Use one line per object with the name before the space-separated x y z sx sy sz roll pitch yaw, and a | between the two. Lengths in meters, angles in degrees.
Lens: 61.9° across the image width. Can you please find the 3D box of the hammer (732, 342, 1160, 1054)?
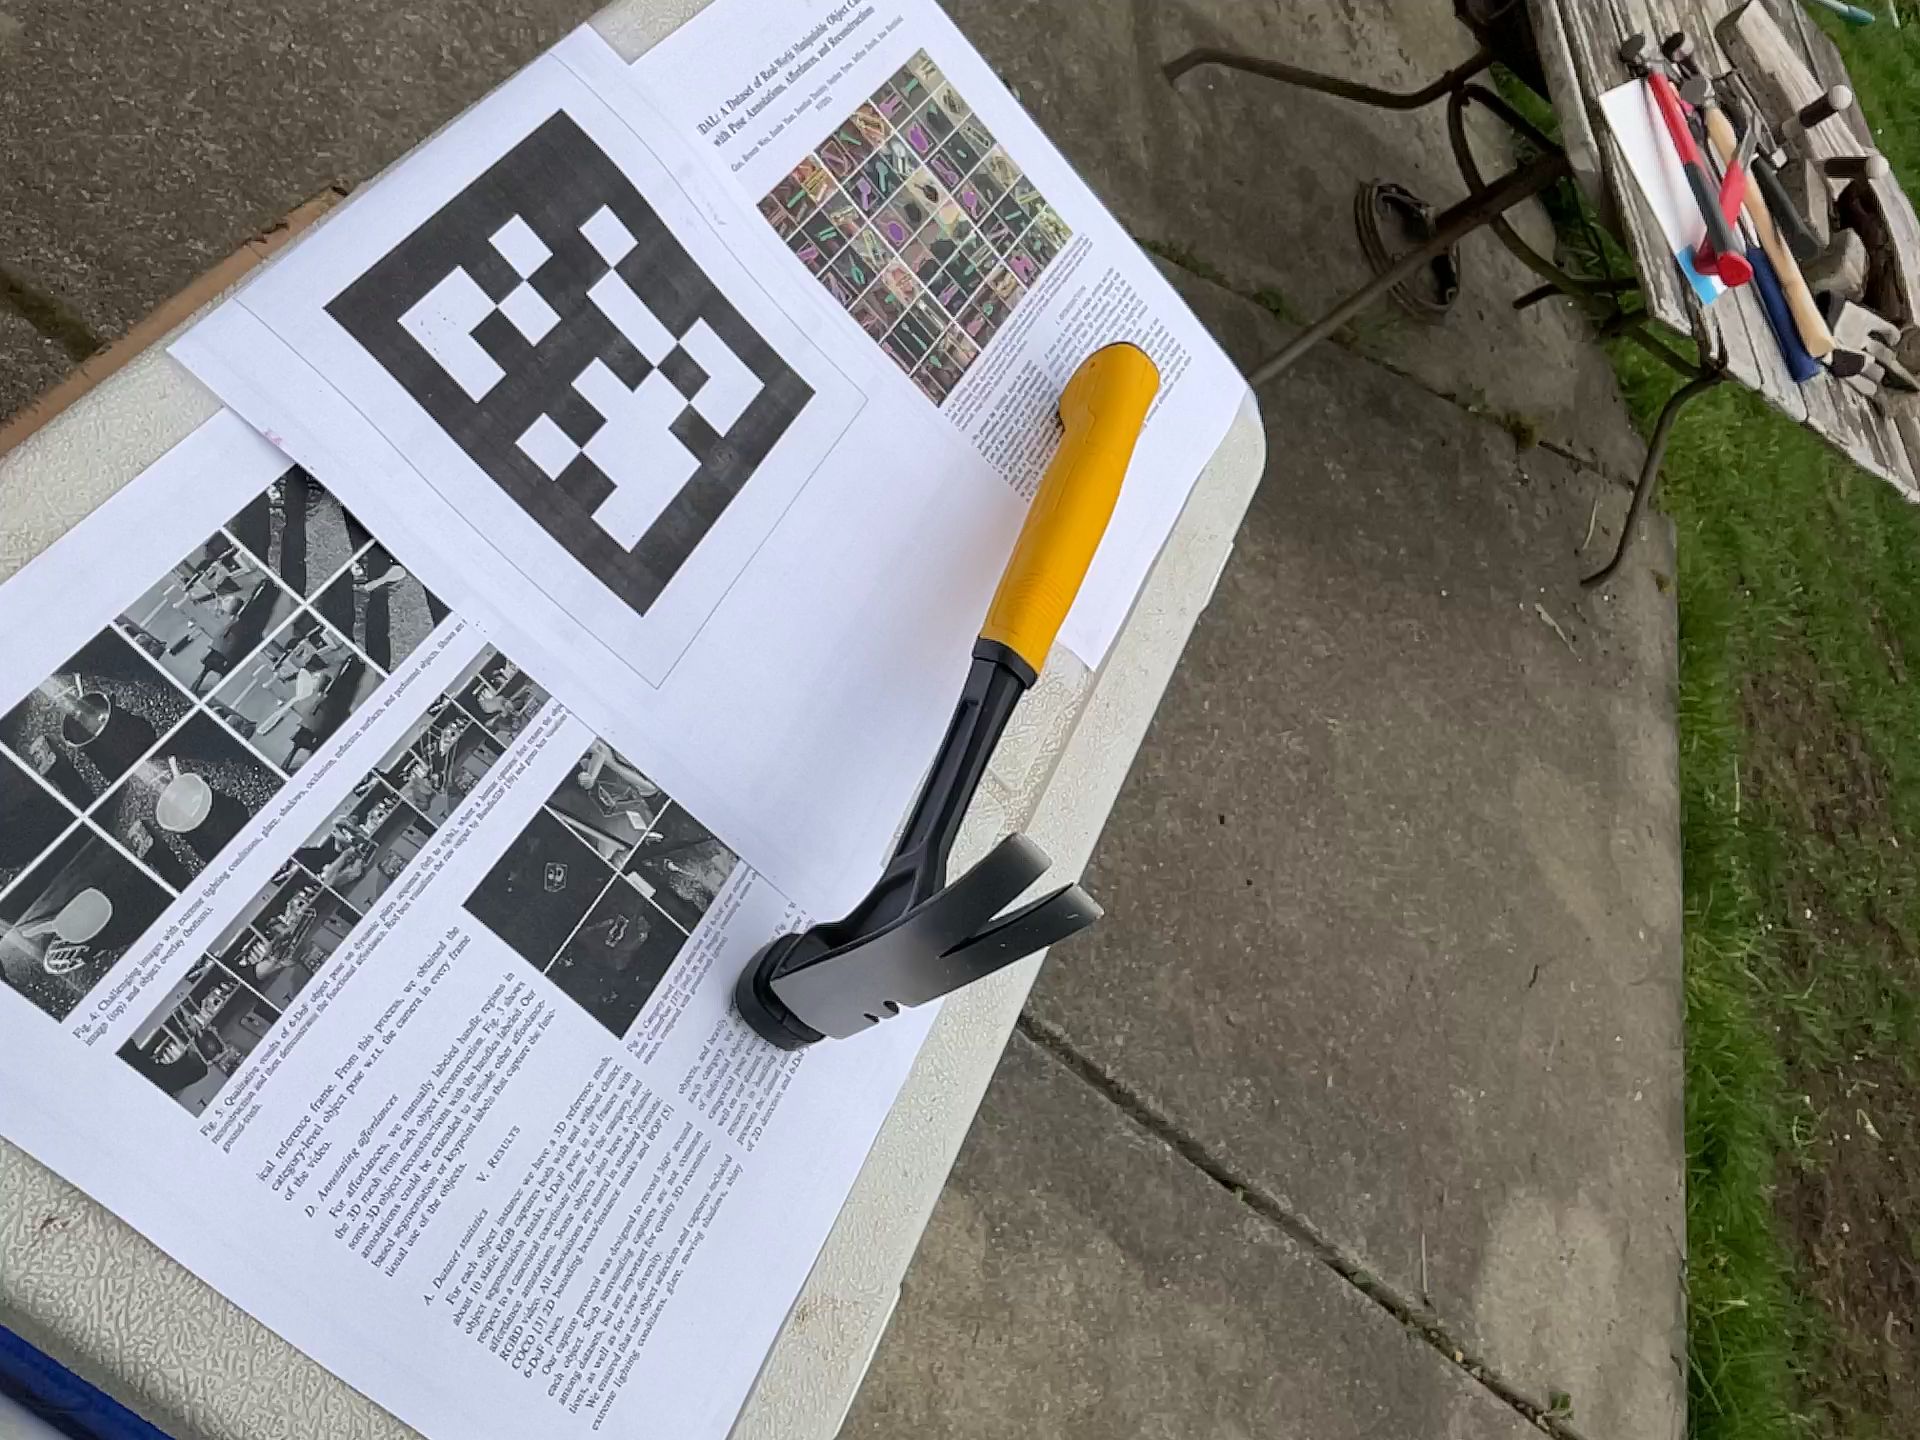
hammer | 0.026 -0.039 0.555 0.034 0.127 0.337 43 42 -20
